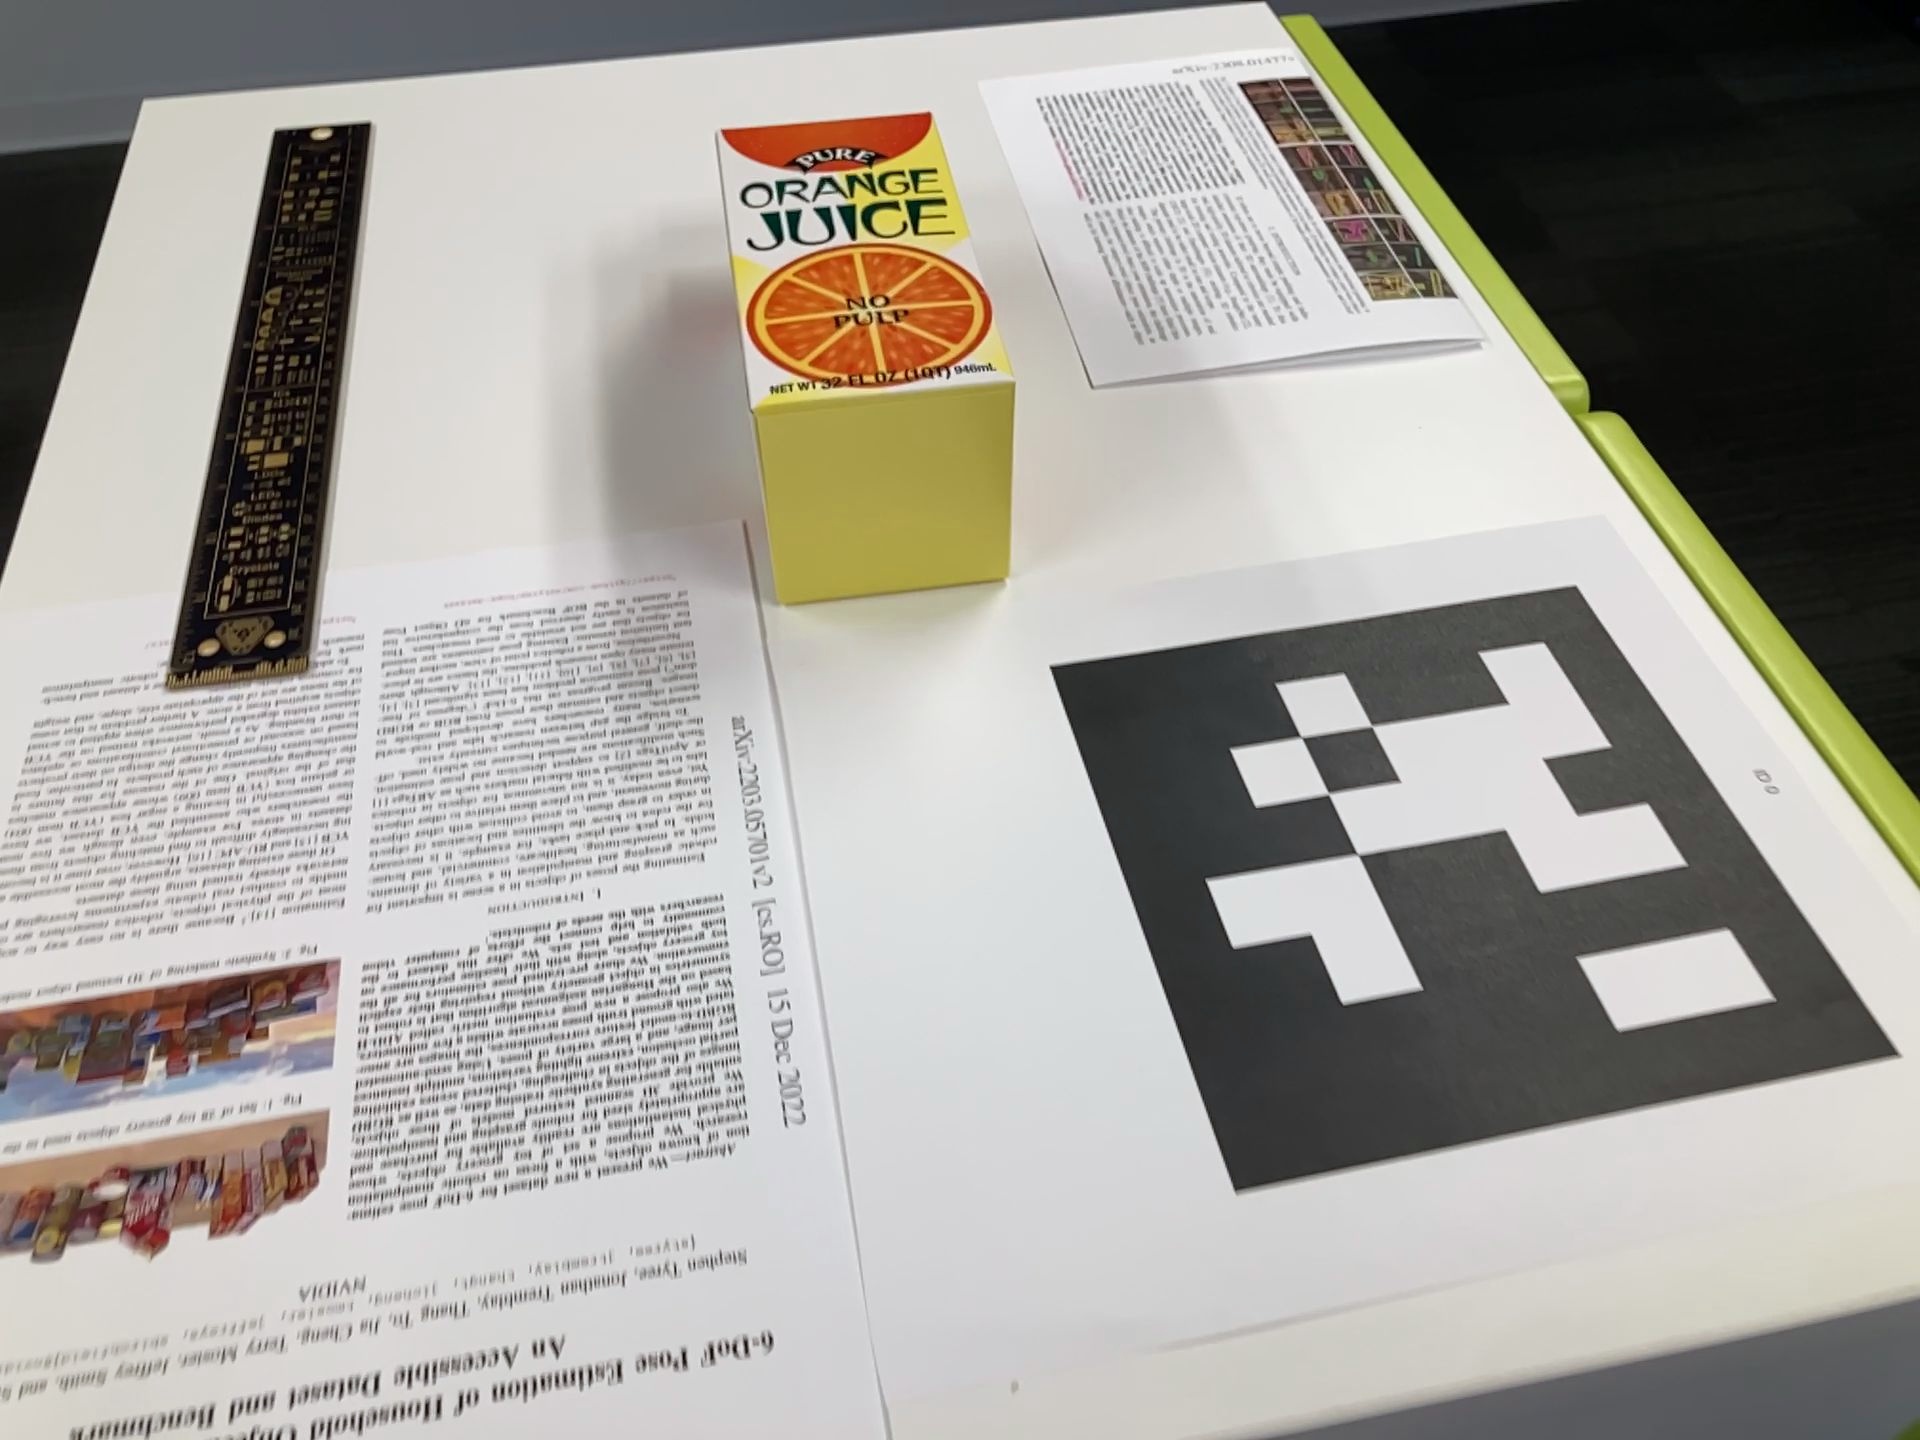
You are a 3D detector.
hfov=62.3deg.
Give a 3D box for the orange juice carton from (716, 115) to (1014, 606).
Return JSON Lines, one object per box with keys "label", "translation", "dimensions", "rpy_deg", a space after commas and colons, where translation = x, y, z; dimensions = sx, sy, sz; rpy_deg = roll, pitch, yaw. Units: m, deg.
{"label": "orange juice carton", "translation": [-0.035, -0.131, 0.507], "dimensions": [0.072, 0.073, 0.192], "rpy_deg": [-7, 49, -6]}
